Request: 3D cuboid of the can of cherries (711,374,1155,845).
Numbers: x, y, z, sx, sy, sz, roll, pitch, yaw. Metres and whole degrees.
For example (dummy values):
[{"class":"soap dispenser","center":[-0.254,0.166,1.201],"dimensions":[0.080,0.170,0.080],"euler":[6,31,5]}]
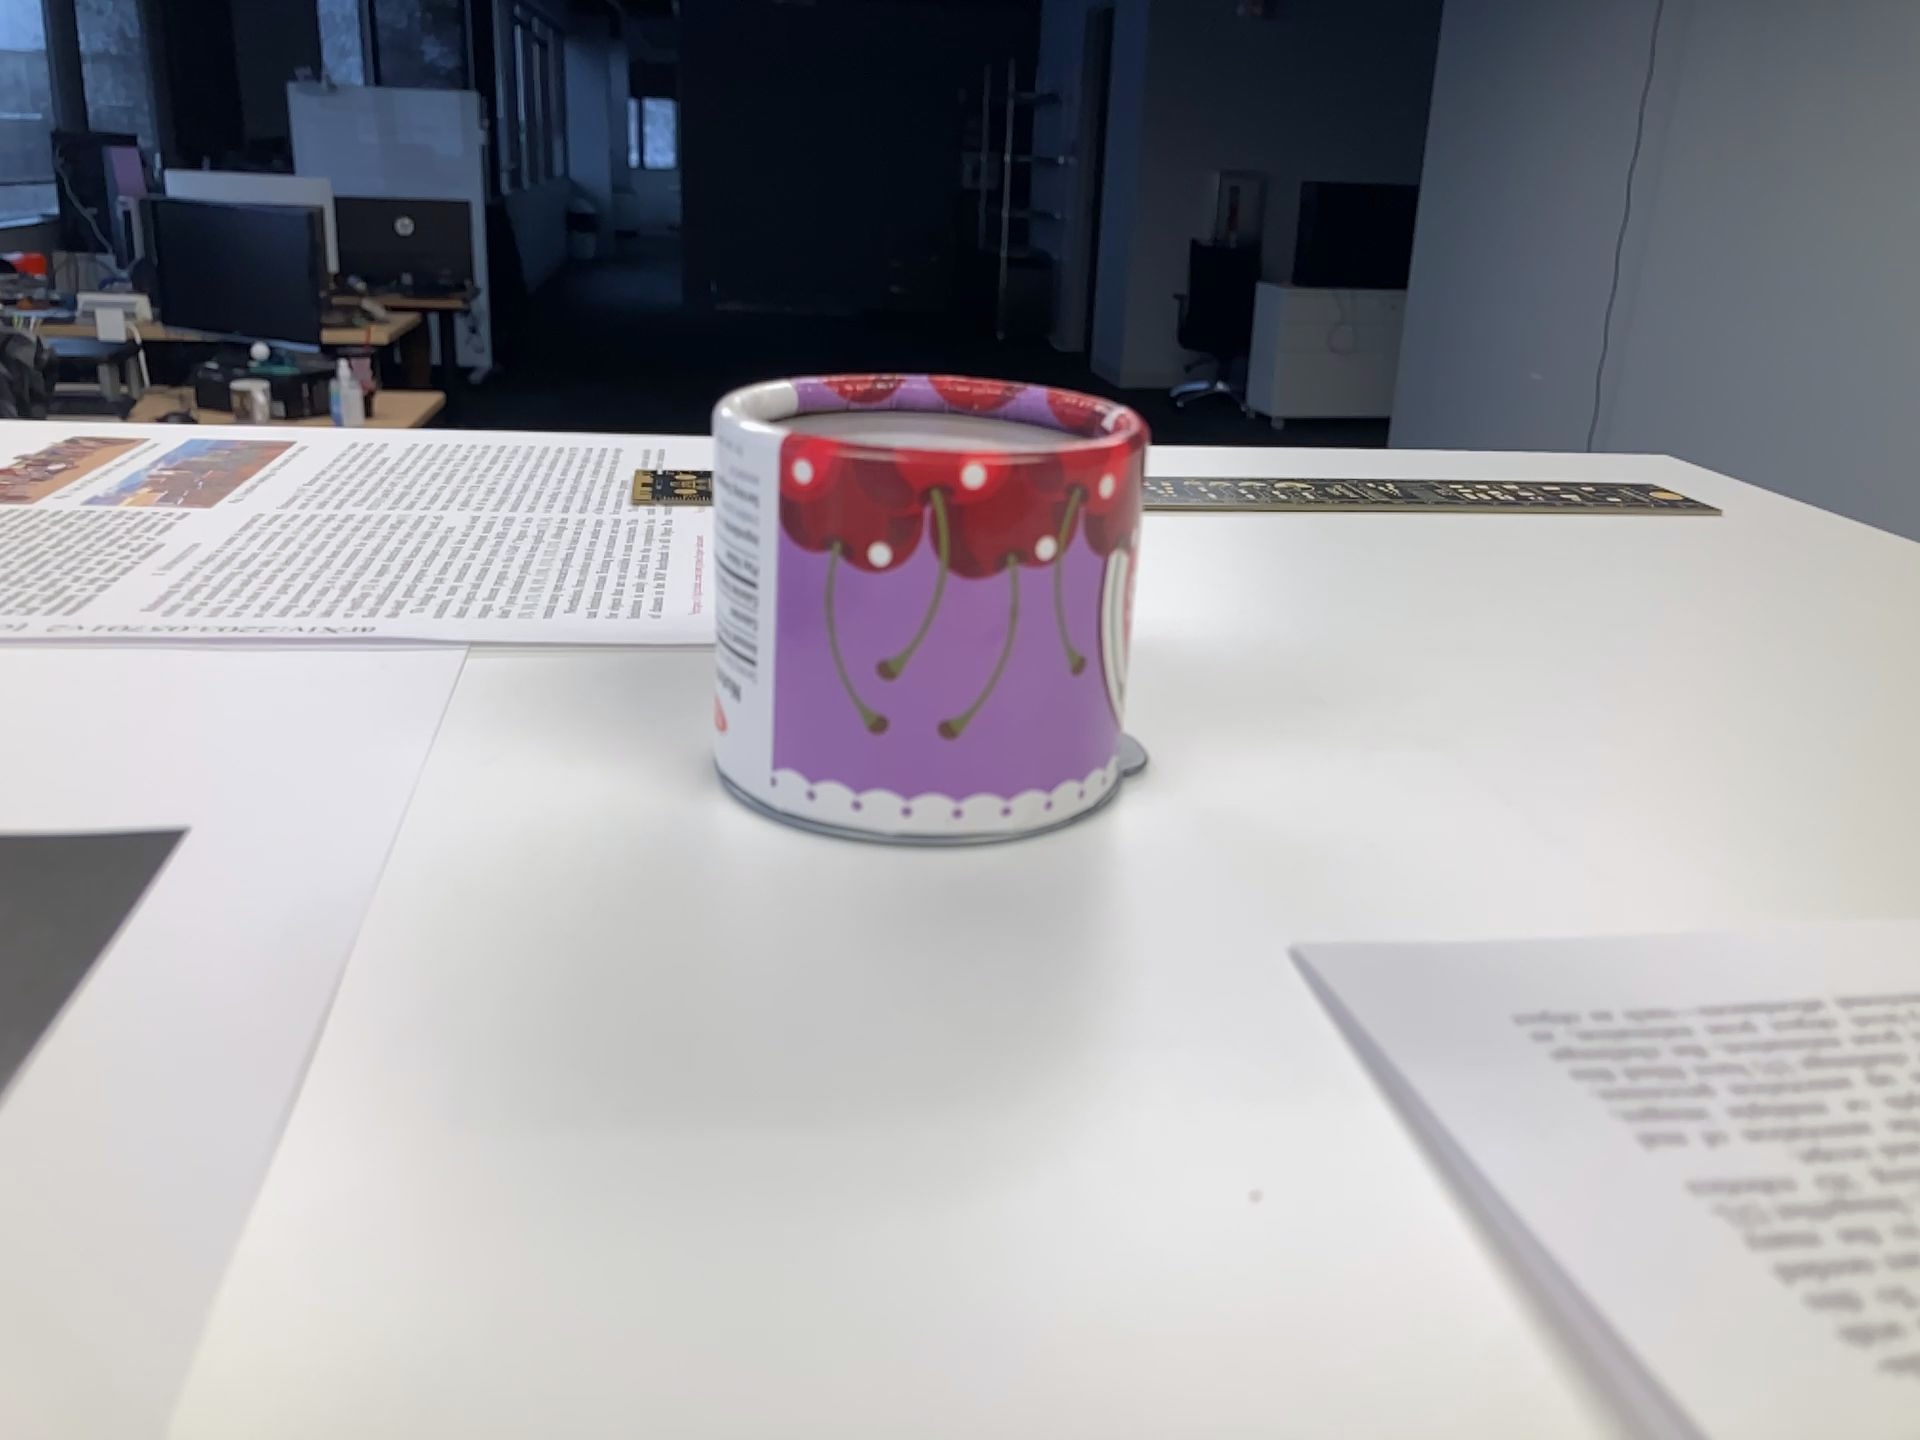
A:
[{"class":"can of cherries","center":[-0.003,-0.021,0.247],"dimensions":[0.071,0.058,0.071],"euler":[3,19,-1]}]
